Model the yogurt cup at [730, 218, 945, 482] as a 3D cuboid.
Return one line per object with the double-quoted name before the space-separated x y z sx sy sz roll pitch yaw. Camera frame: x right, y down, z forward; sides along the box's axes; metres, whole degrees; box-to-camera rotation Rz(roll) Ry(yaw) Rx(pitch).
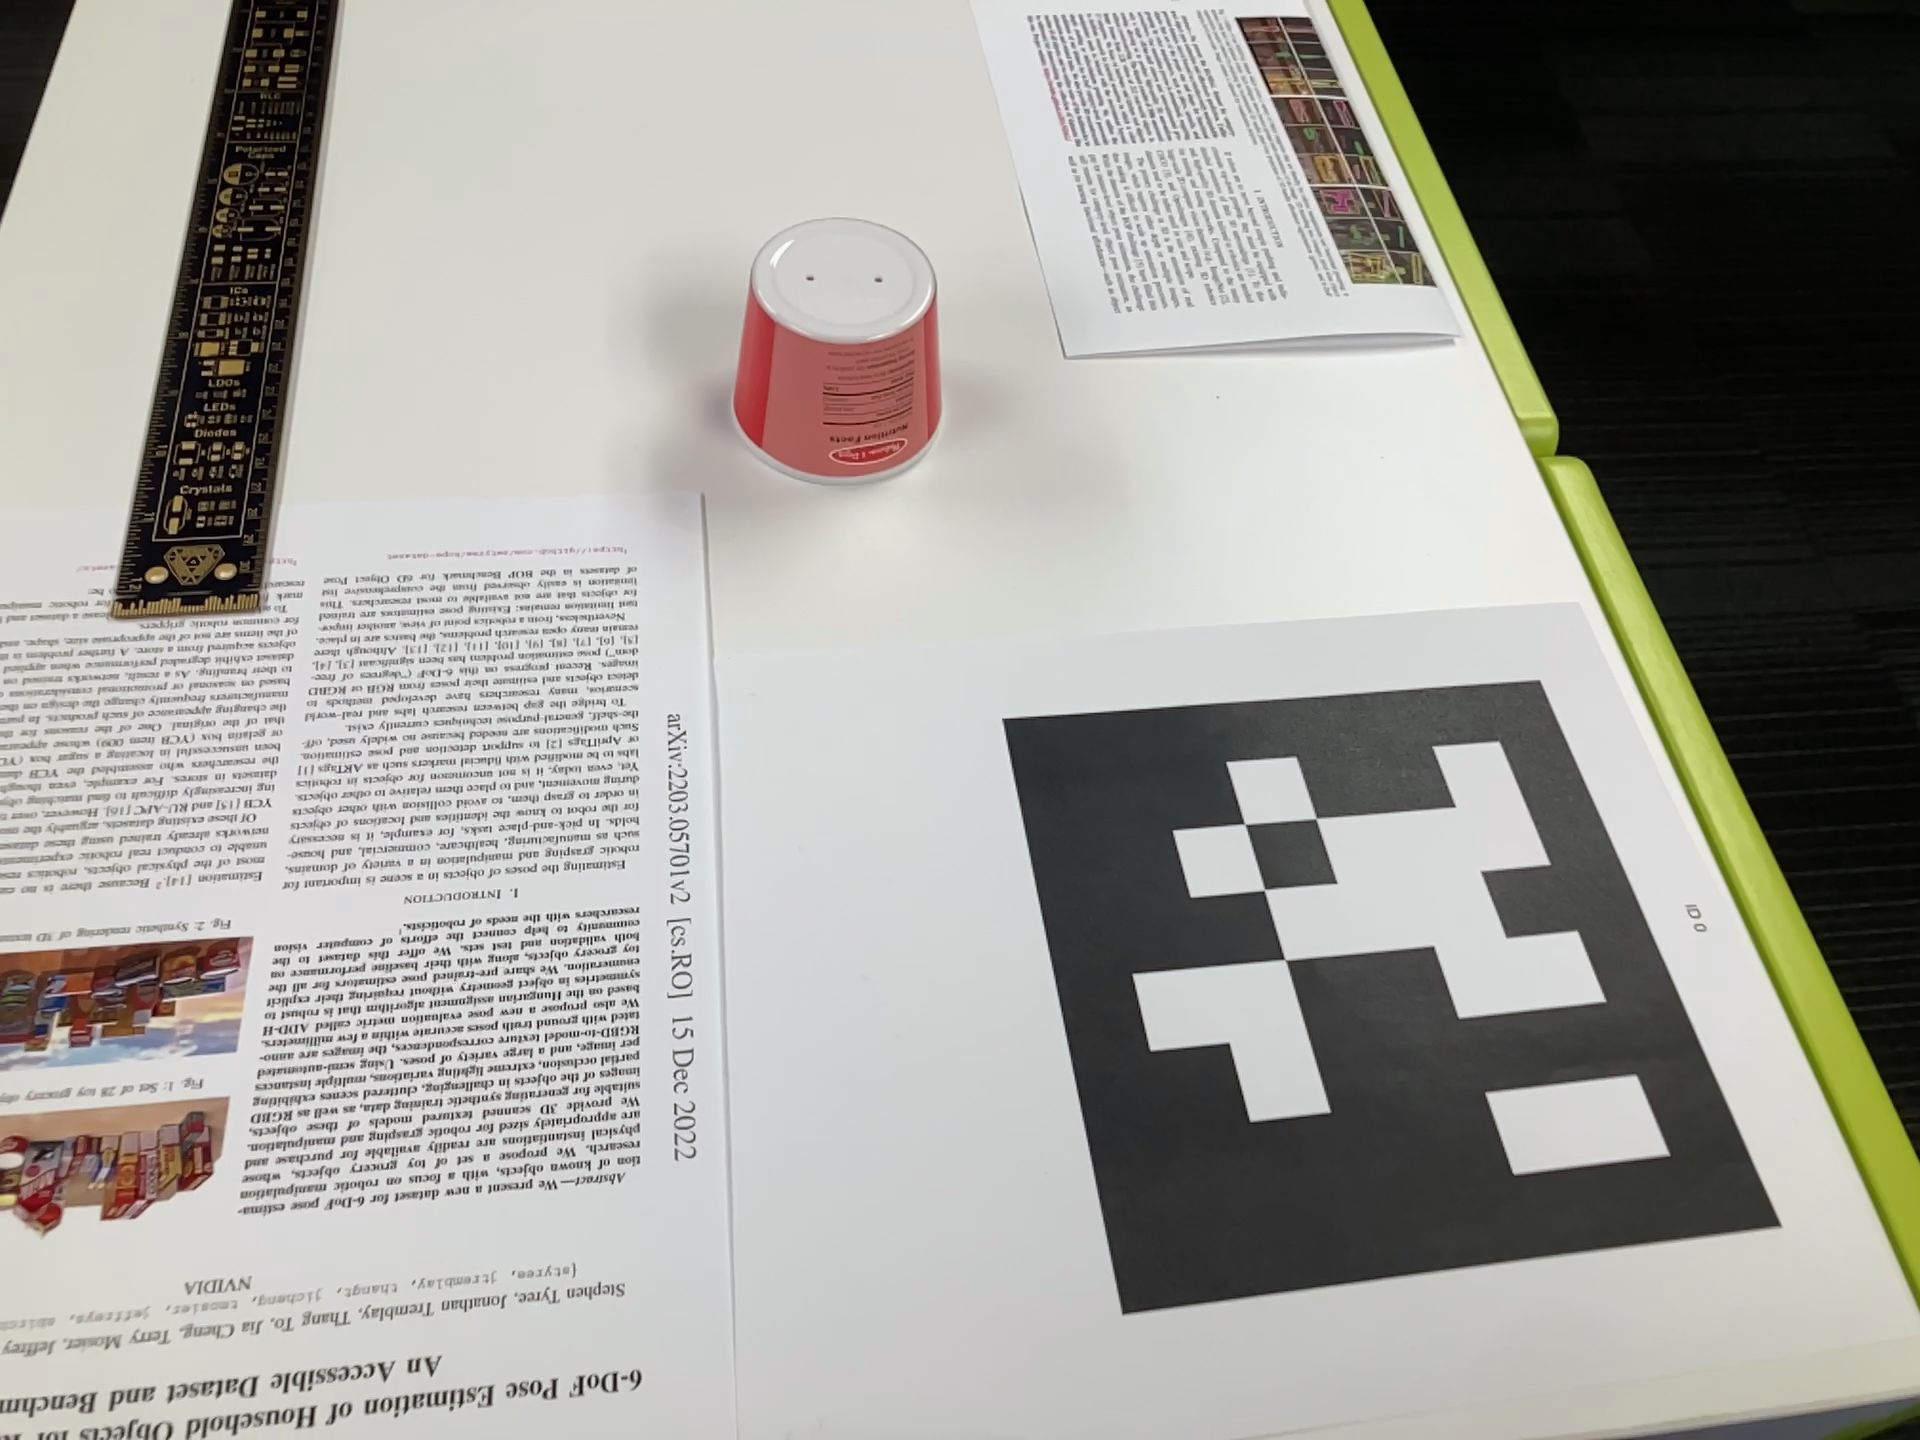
"yogurt cup" -0.037 -0.116 0.486 0.072 0.054 0.072 4 55 -5
